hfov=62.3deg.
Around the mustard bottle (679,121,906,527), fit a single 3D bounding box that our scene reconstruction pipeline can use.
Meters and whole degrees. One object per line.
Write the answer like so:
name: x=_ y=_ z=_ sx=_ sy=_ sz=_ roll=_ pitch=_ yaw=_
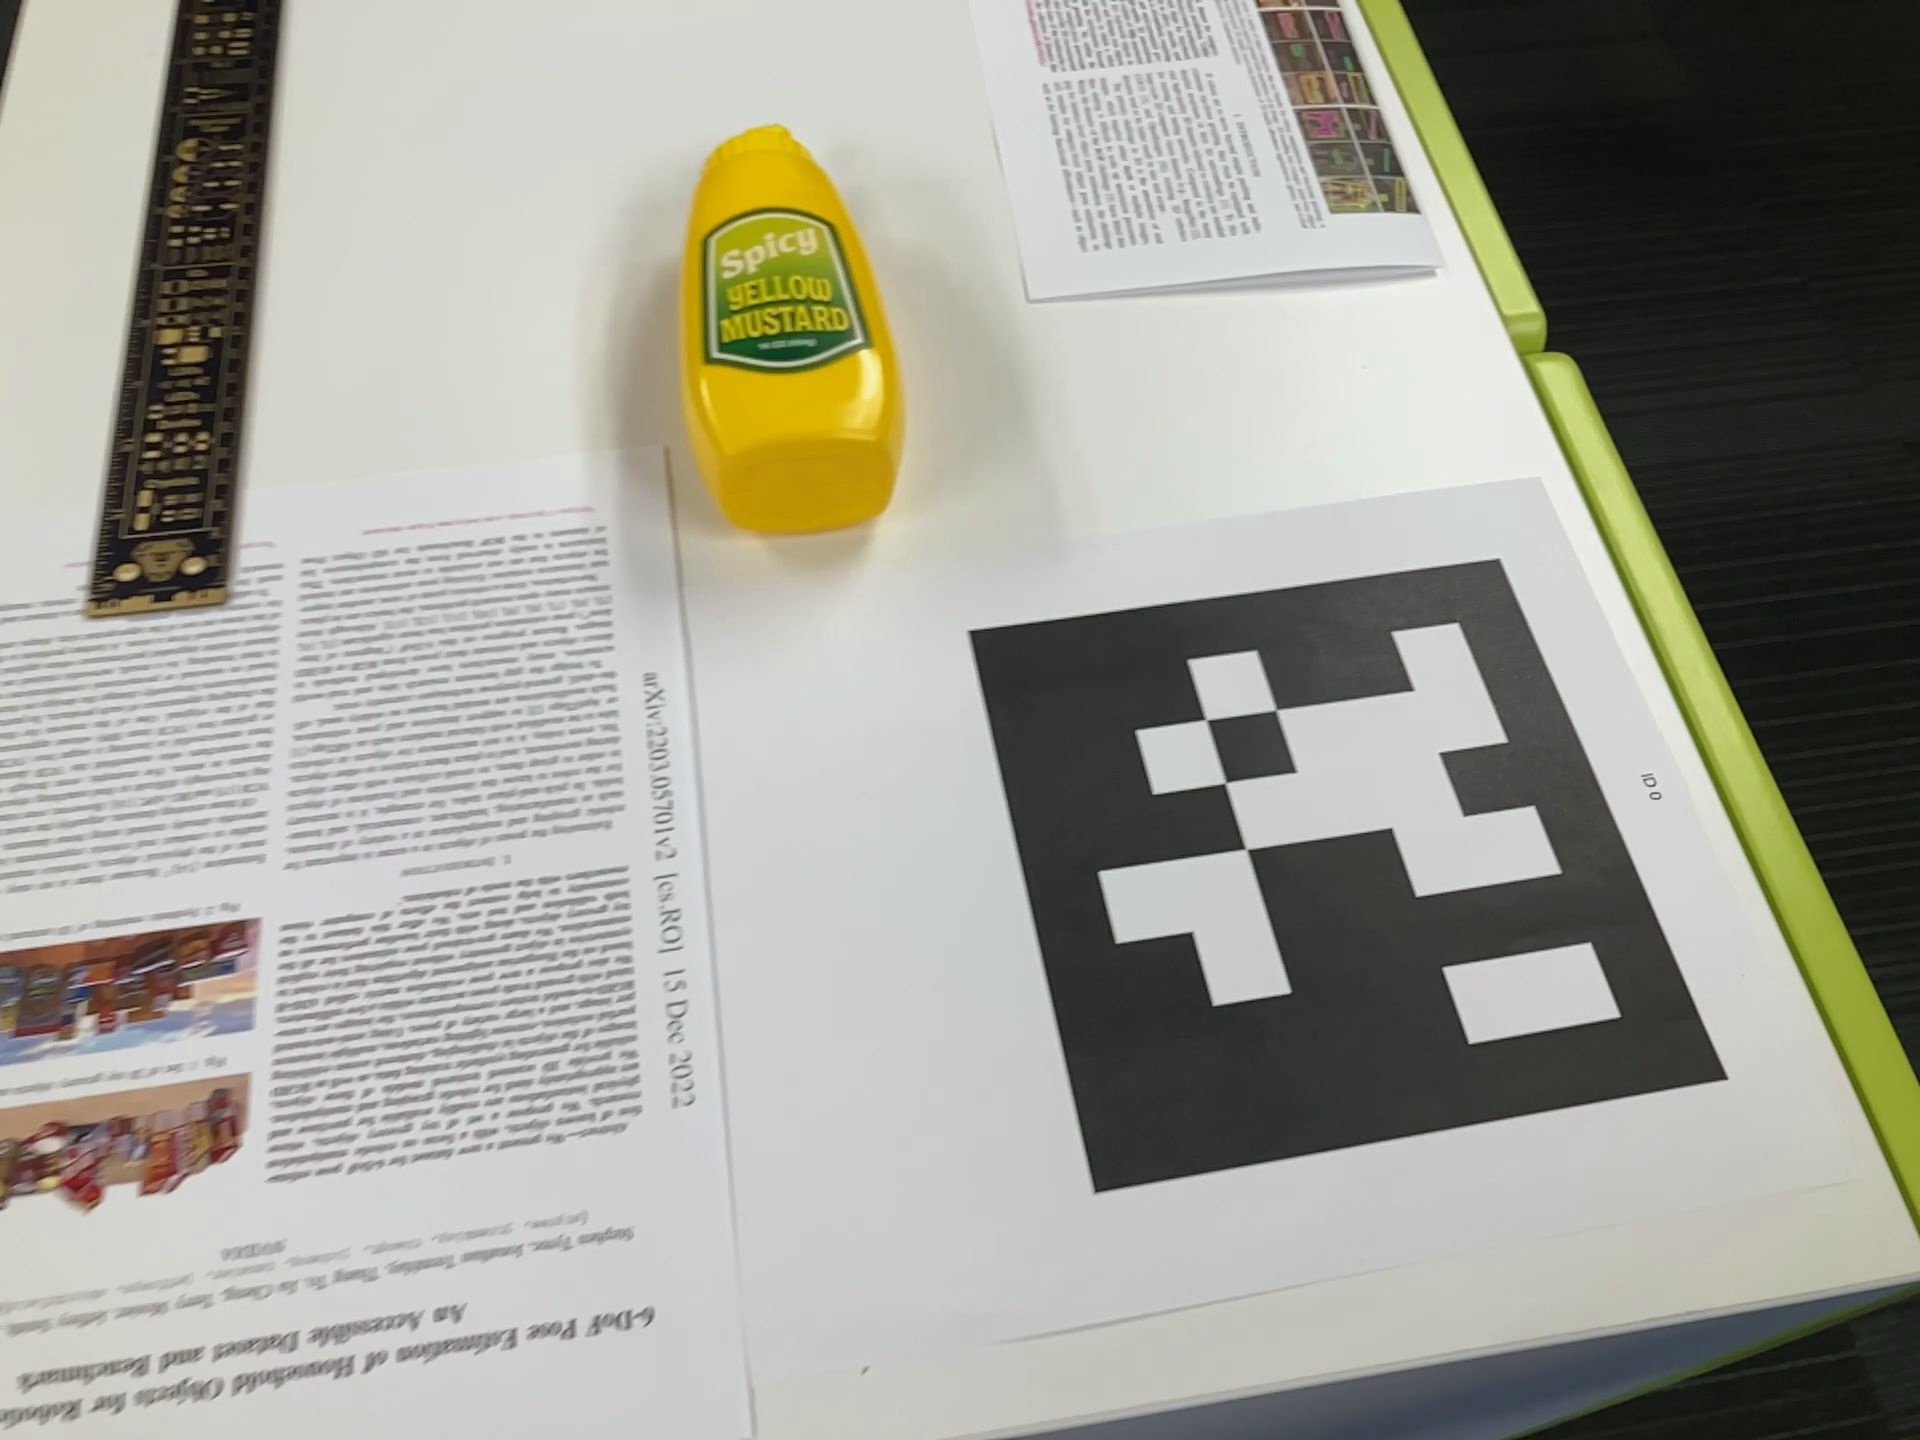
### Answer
mustard bottle: x=-0.057 y=-0.134 z=0.490 sx=0.065 sy=0.049 sz=0.160 roll=-8 pitch=59 yaw=-8
